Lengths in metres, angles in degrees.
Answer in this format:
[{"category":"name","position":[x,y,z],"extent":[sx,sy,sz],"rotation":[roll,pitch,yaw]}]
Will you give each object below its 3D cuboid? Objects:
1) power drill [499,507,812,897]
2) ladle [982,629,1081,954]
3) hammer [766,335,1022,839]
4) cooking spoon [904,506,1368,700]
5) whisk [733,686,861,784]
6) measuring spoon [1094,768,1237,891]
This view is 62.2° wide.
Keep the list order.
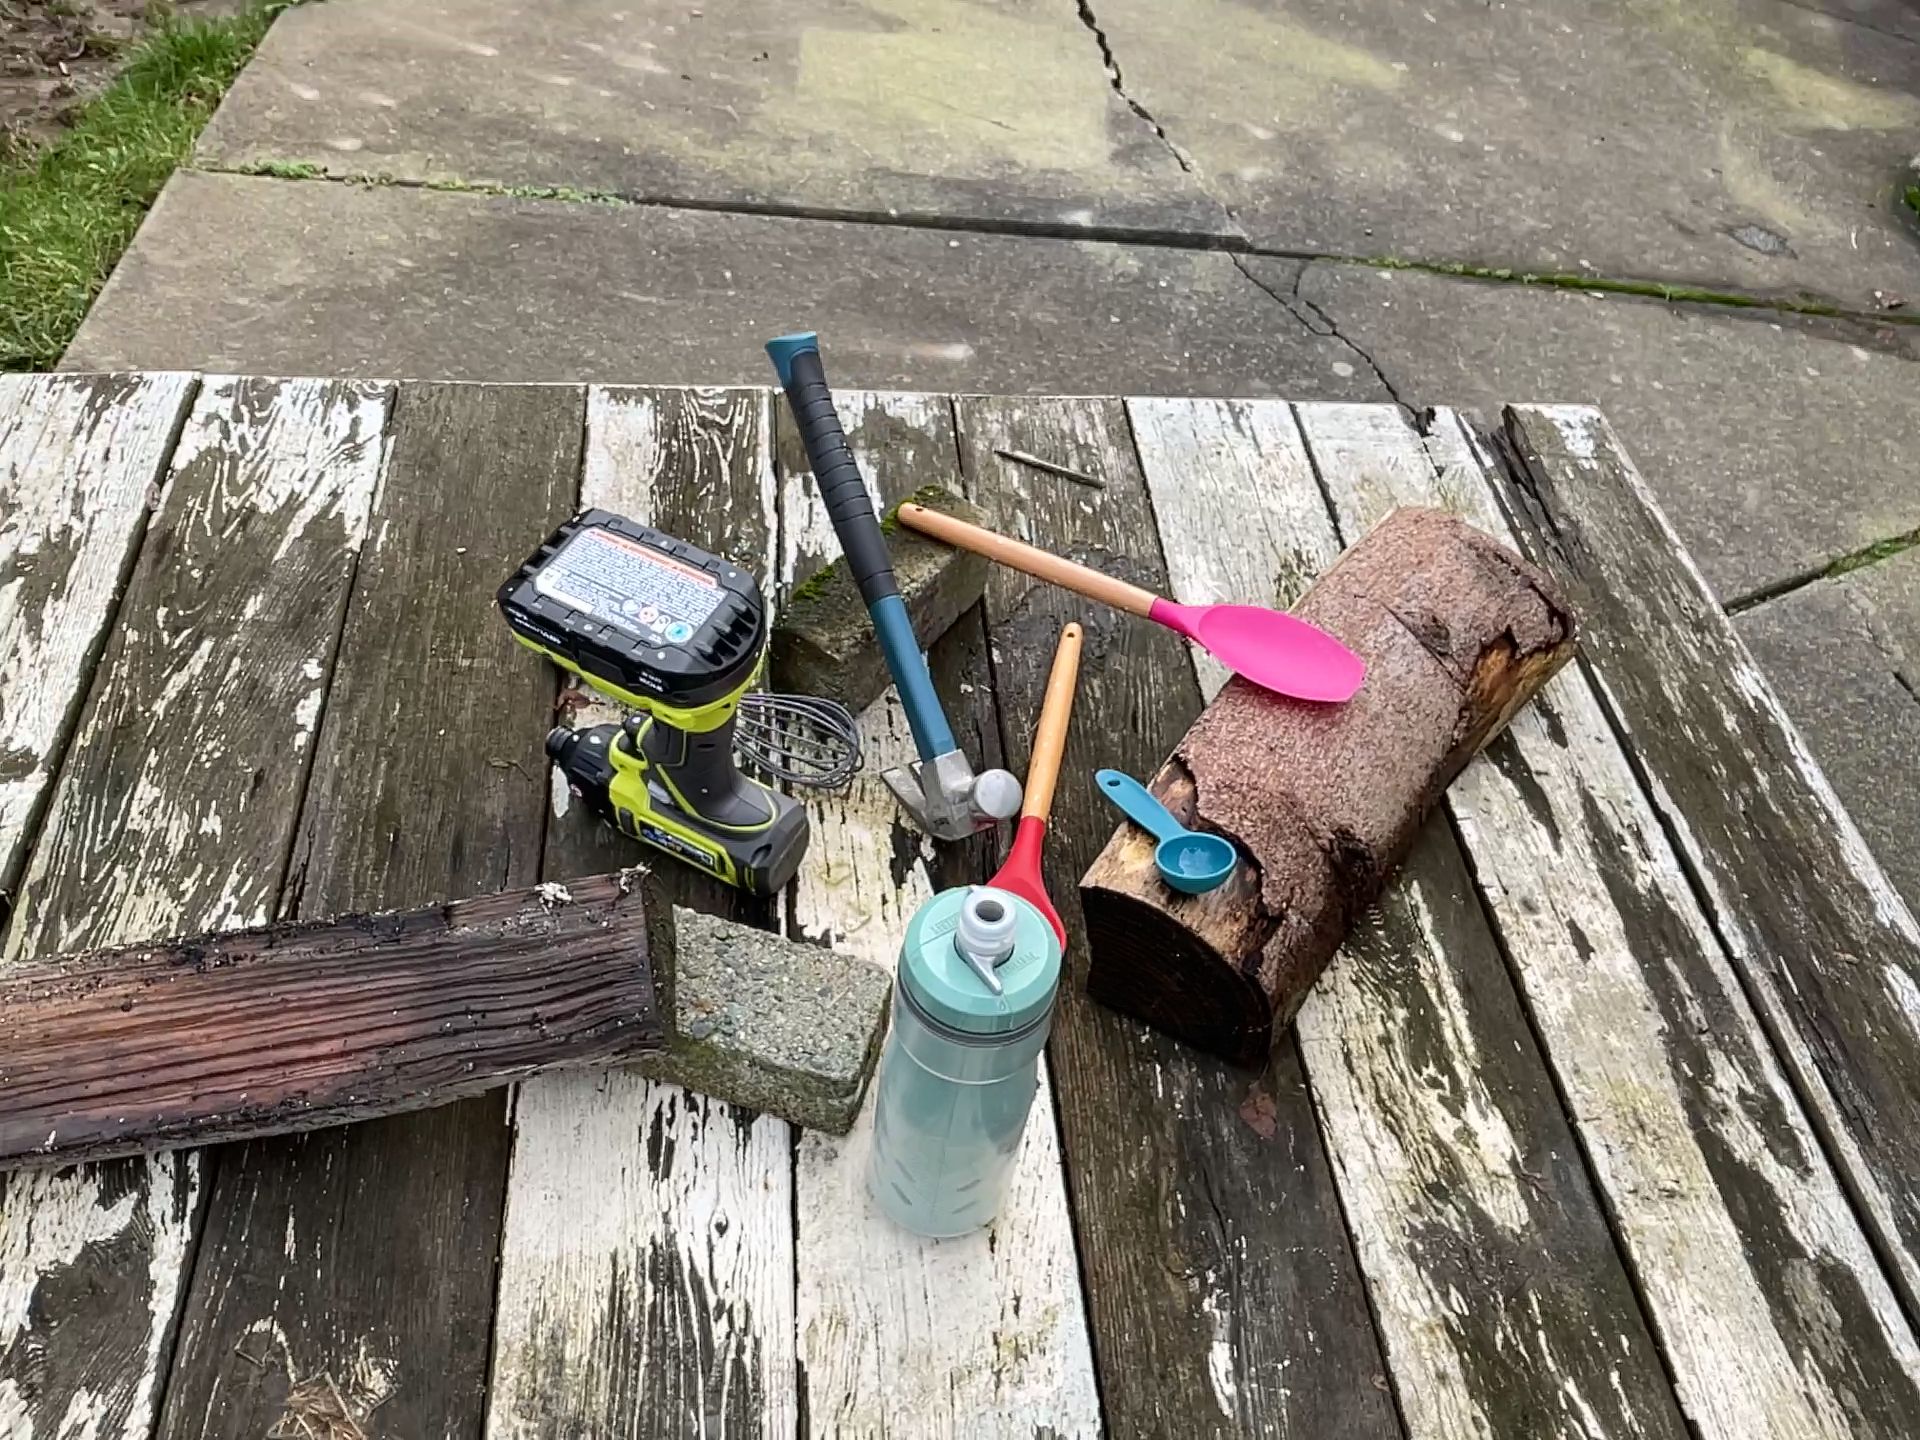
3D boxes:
[{"category":"power drill","position":[-0.172,-0.004,0.885],"extent":[0.171,0.223,0.080],"rotation":[24,56,16]},{"category":"ladle","position":[0.049,0.046,1.002],"extent":[0.069,0.031,0.316],"rotation":[10,44,5]},{"category":"hammer","position":[-0.051,-0.085,0.975],"extent":[0.033,0.128,0.331],"rotation":[-17,83,-25]},{"category":"cooking spoon","position":[0.104,-0.080,1.016],"extent":[0.319,0.017,0.069],"rotation":[23,49,19]},{"category":"whisk","position":[-0.168,-0.019,1.012],"extent":[0.239,0.055,0.055],"rotation":[21,40,16]},{"category":"measuring spoon","position":[0.109,0.062,0.889],"extent":[0.042,0.021,0.129],"rotation":[-15,29,-20]}]
